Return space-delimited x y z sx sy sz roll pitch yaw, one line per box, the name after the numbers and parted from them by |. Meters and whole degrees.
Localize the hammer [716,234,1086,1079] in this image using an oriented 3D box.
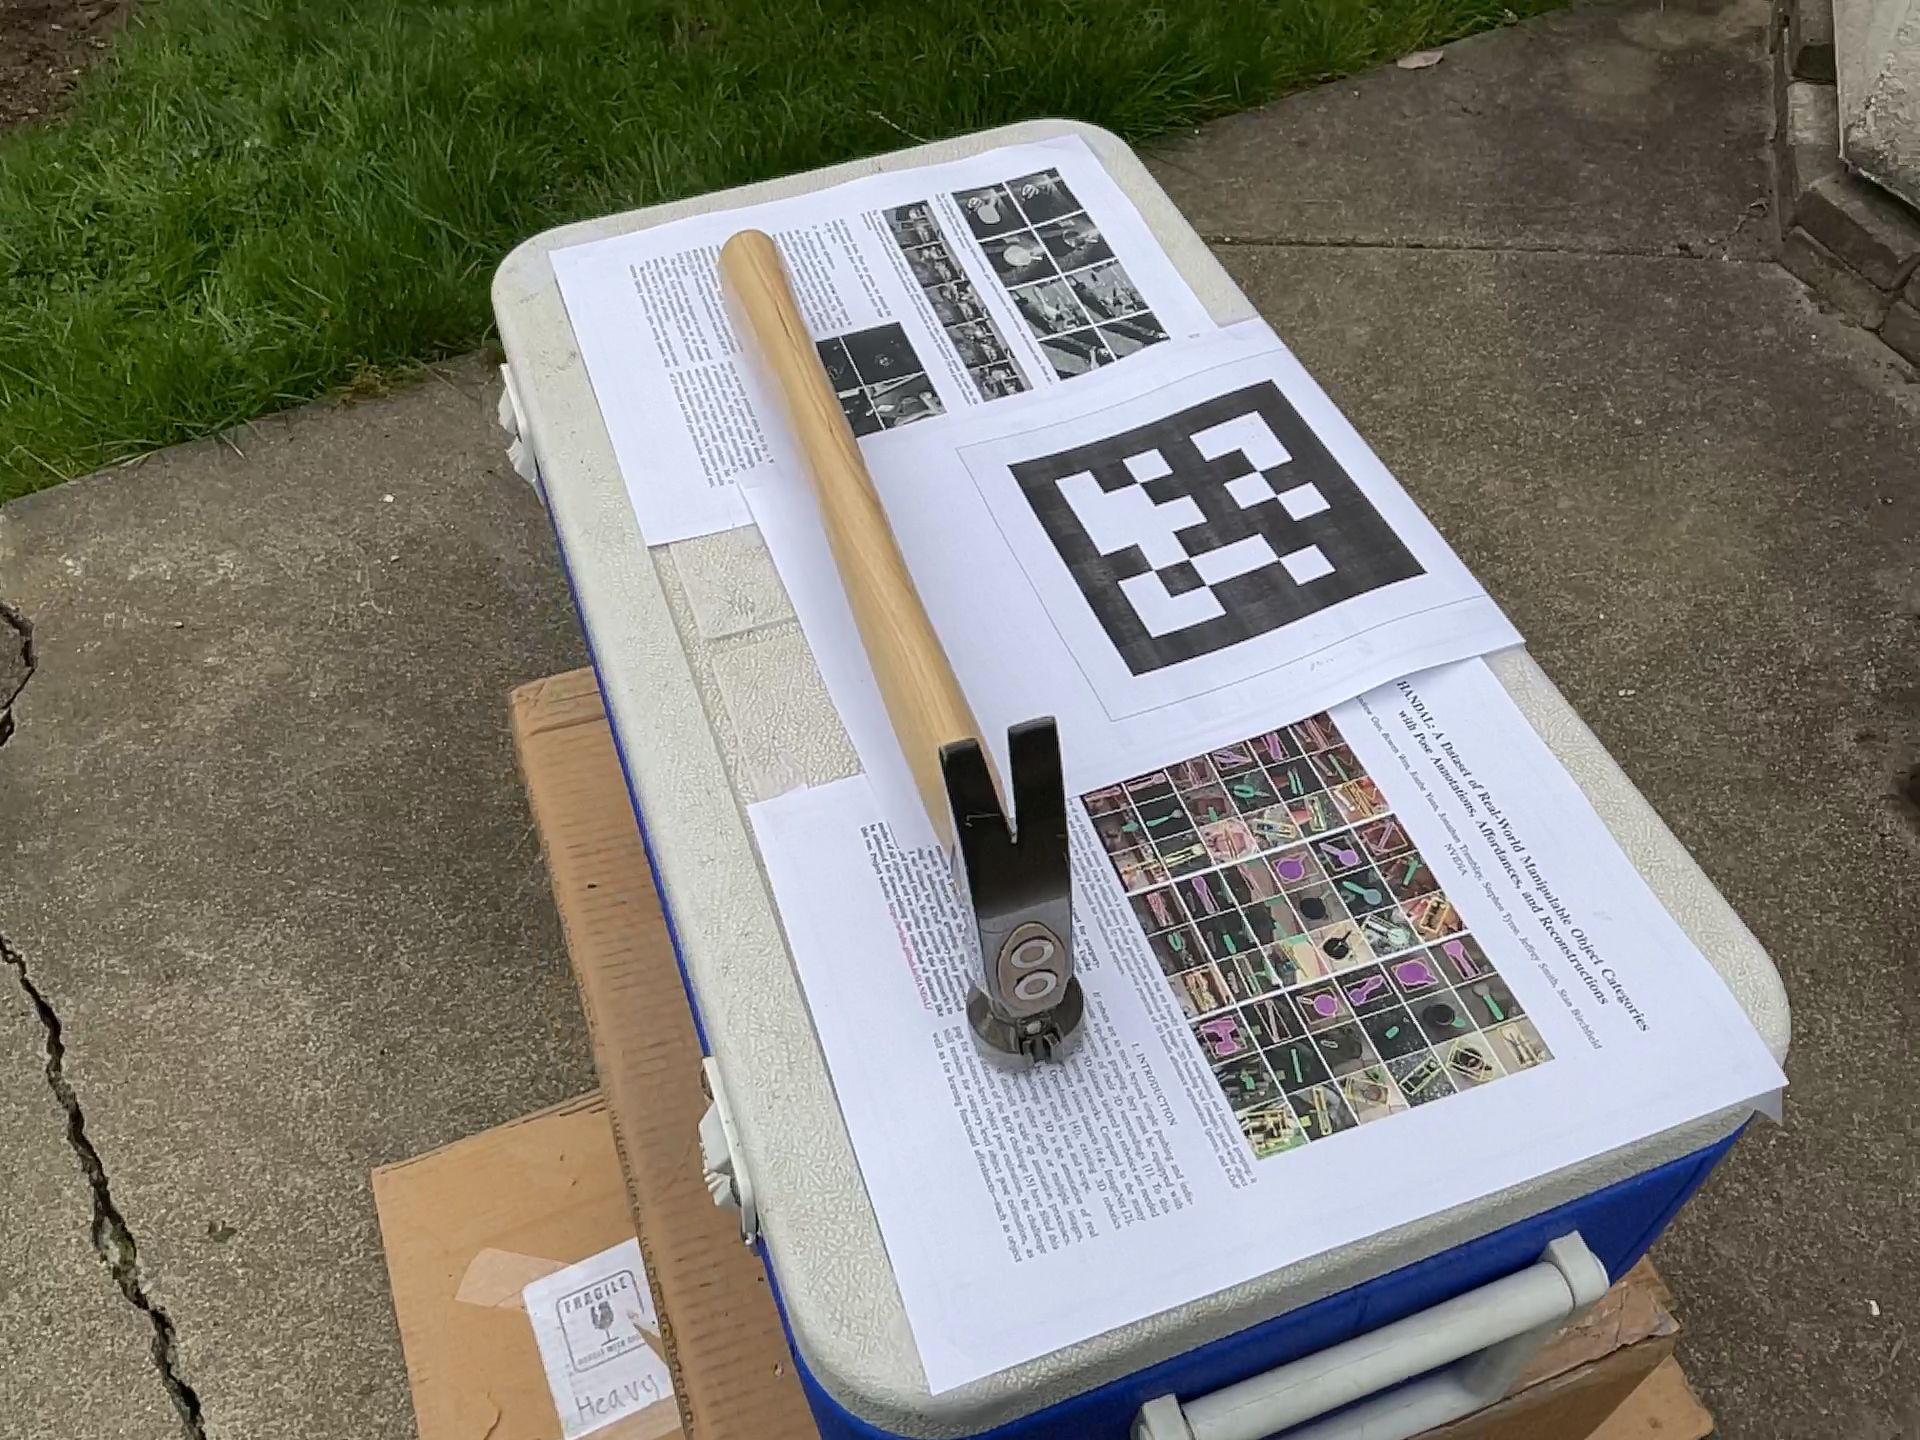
-0.039 -0.076 0.589 0.038 0.146 0.411 -16 48 -9 | hammer
